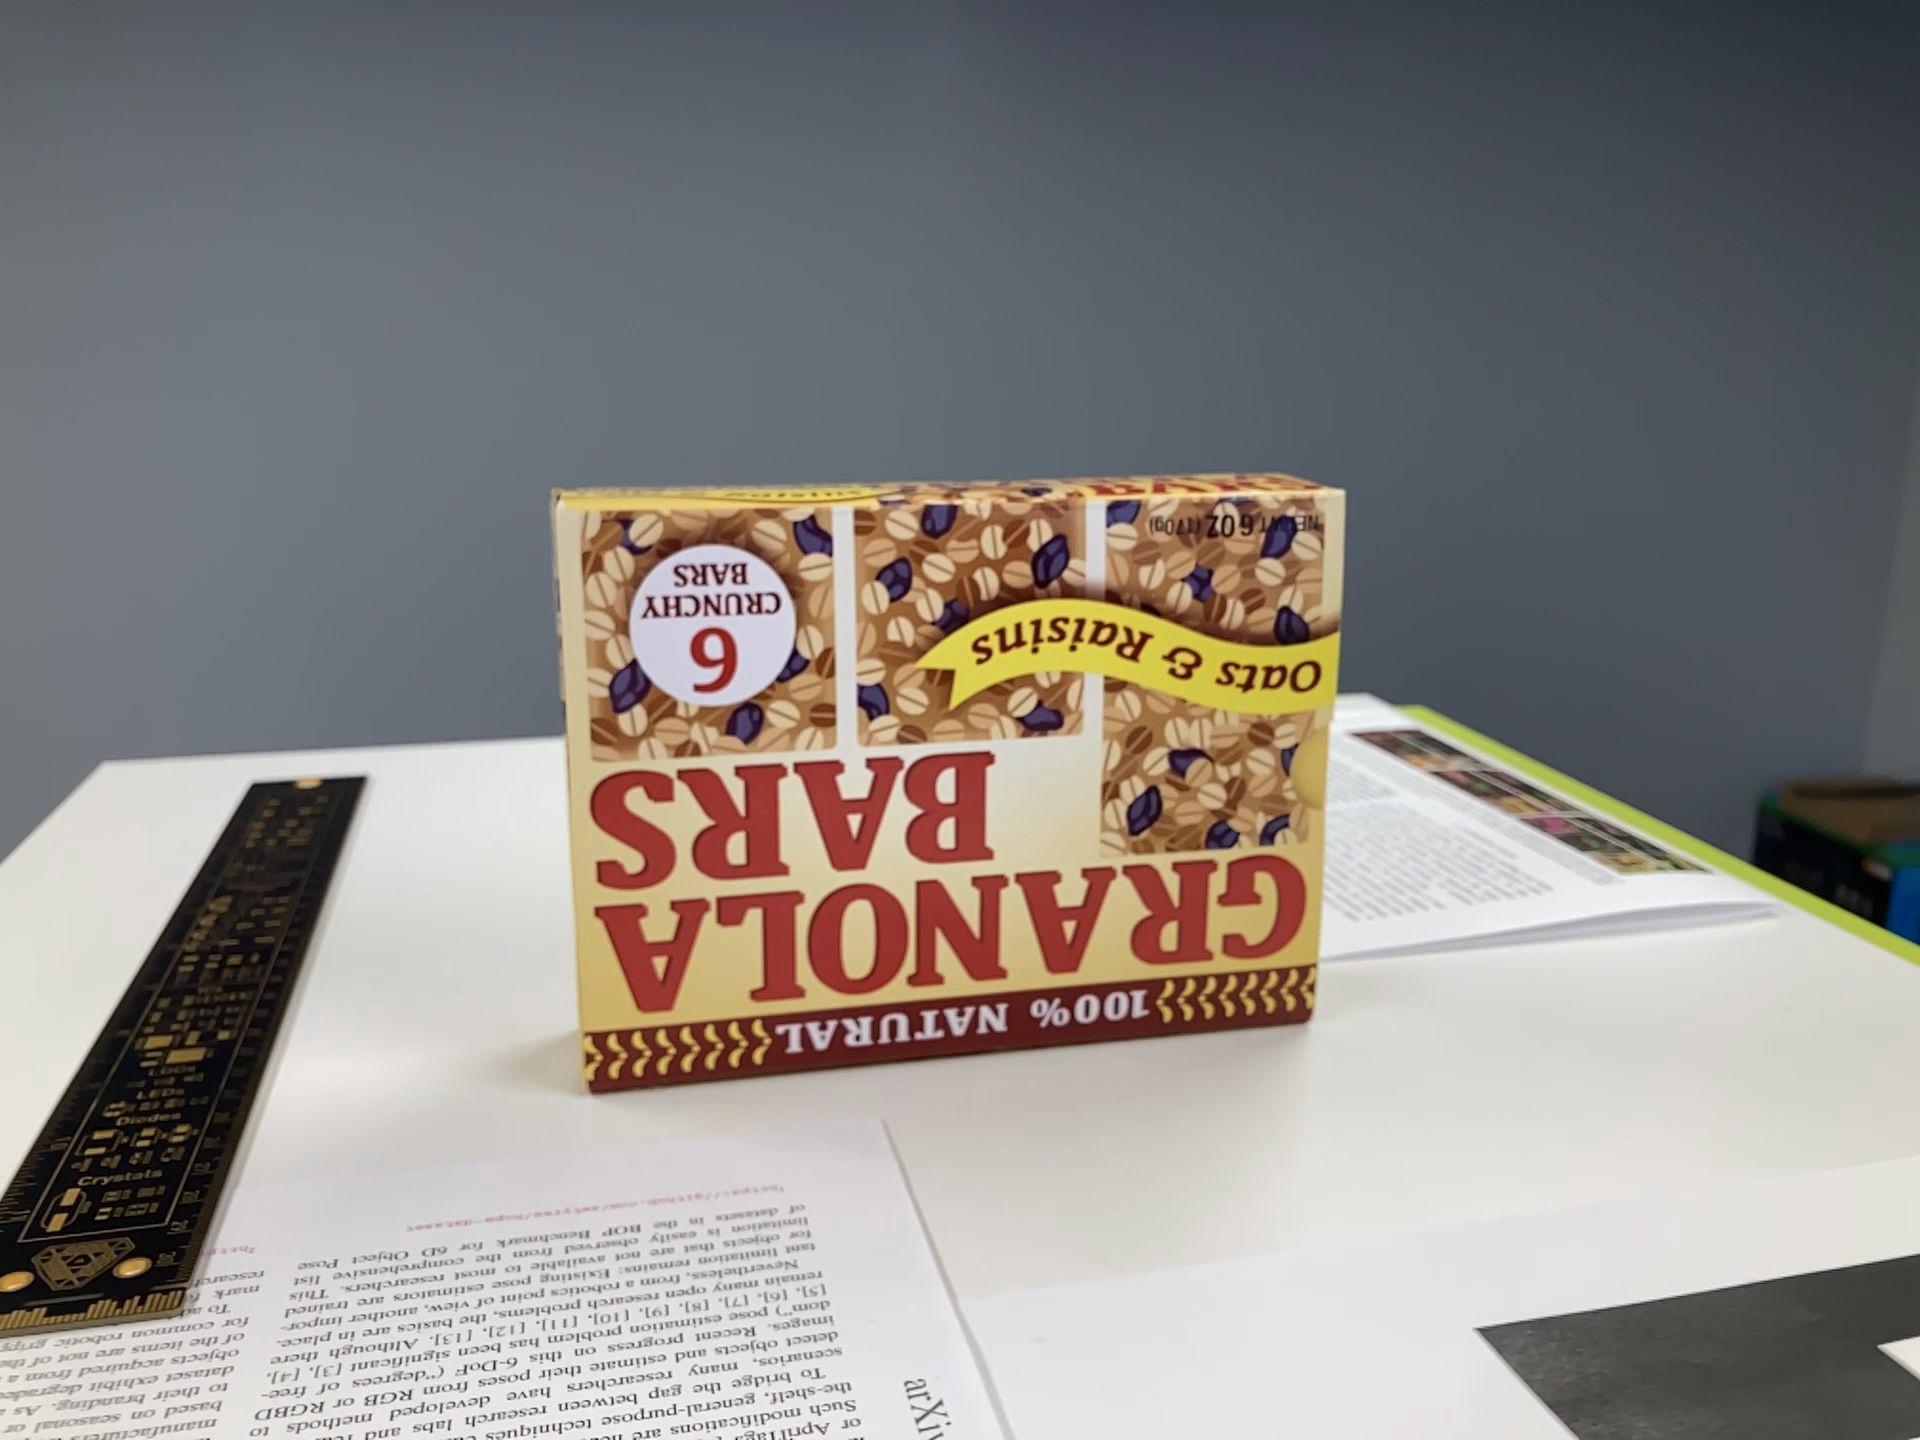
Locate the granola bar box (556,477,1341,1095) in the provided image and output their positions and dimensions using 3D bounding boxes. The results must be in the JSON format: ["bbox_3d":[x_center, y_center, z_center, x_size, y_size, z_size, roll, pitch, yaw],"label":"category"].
[{"bbox_3d":[-0.001,0.011,0.355,0.165,0.124,0.039,-3,14,-13],"label":"granola bar box"}]
